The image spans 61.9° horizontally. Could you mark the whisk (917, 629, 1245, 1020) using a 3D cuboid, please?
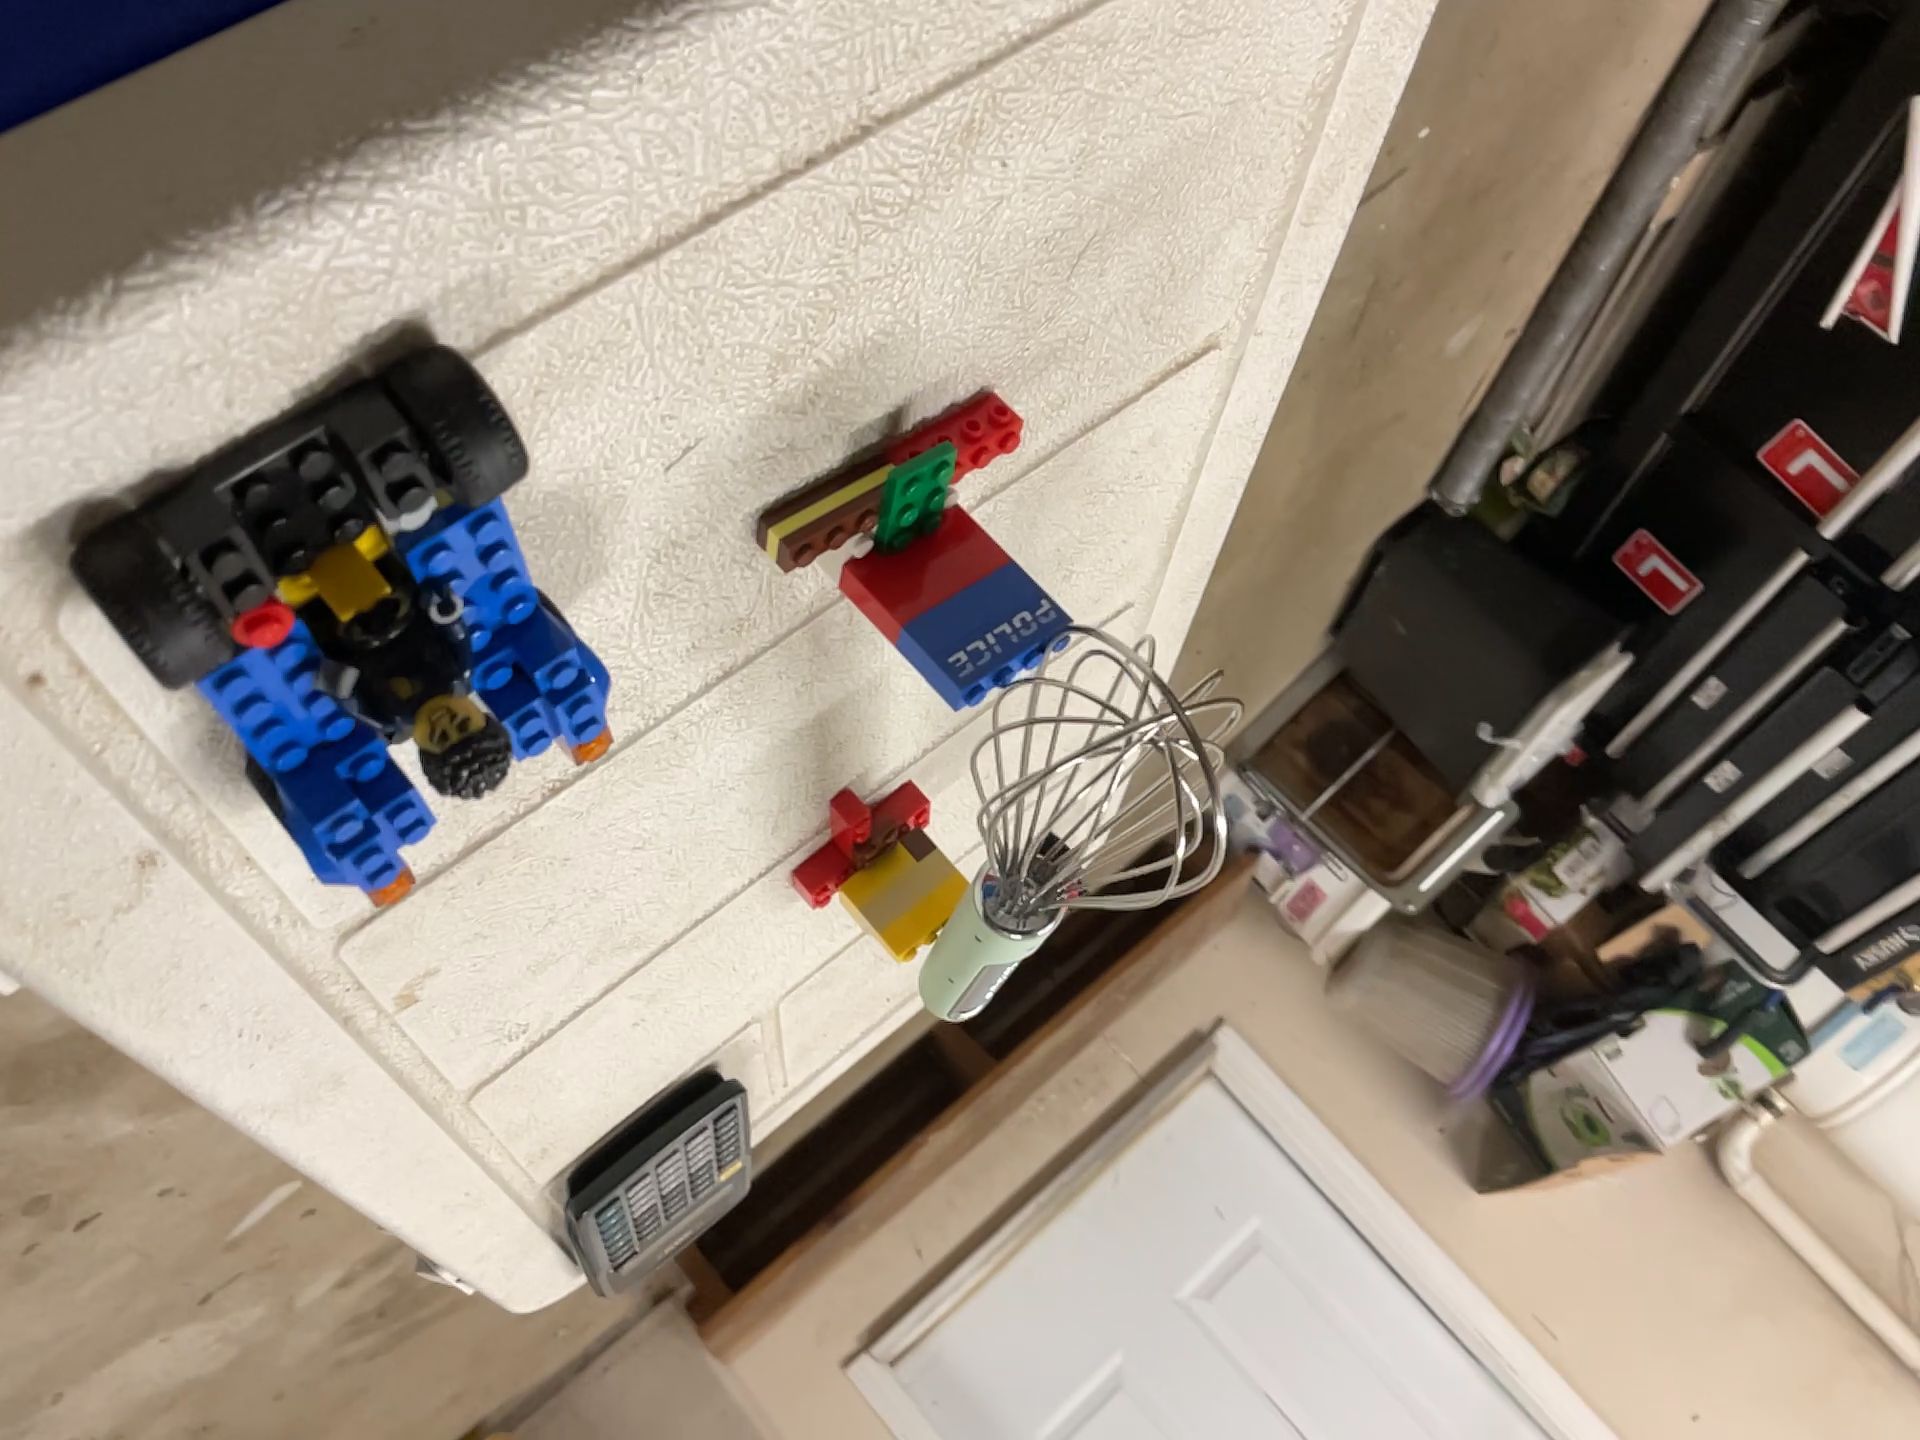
[{"bbox_3d":[0.017,0.043,0.410,0.058,0.059,0.246,-29,166,-19],"label":"whisk"}]
